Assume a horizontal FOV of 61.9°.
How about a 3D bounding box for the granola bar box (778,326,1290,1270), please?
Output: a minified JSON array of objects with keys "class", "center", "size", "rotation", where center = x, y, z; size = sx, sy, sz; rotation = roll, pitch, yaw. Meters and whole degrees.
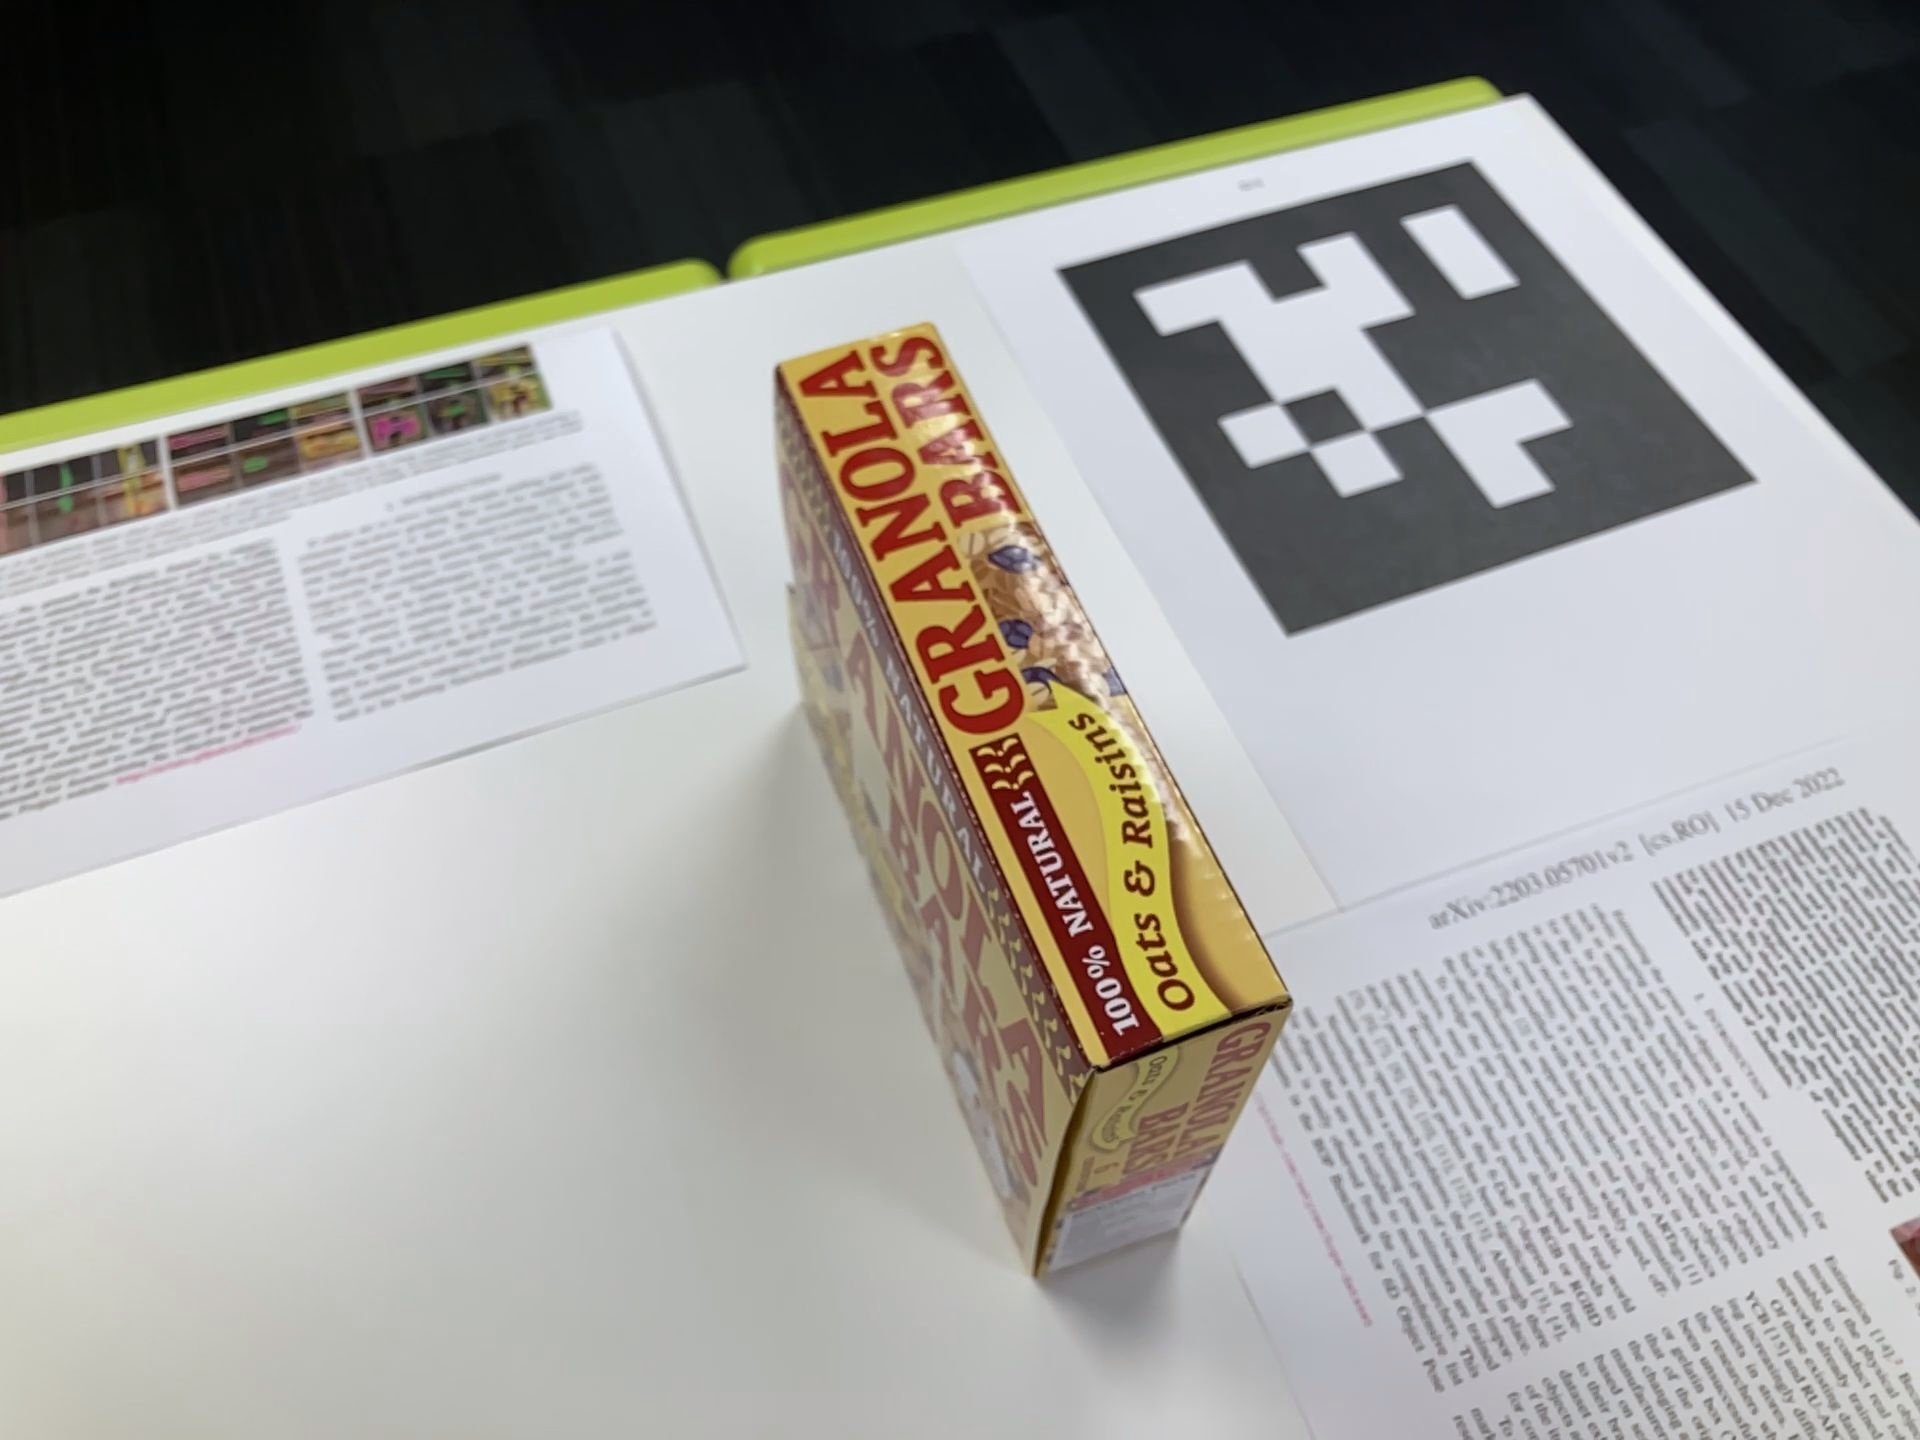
[{"class":"granola bar box","center":[0.004,0.019,0.345],"size":[0.039,0.124,0.165],"rotation":[-17,59,-14]}]
